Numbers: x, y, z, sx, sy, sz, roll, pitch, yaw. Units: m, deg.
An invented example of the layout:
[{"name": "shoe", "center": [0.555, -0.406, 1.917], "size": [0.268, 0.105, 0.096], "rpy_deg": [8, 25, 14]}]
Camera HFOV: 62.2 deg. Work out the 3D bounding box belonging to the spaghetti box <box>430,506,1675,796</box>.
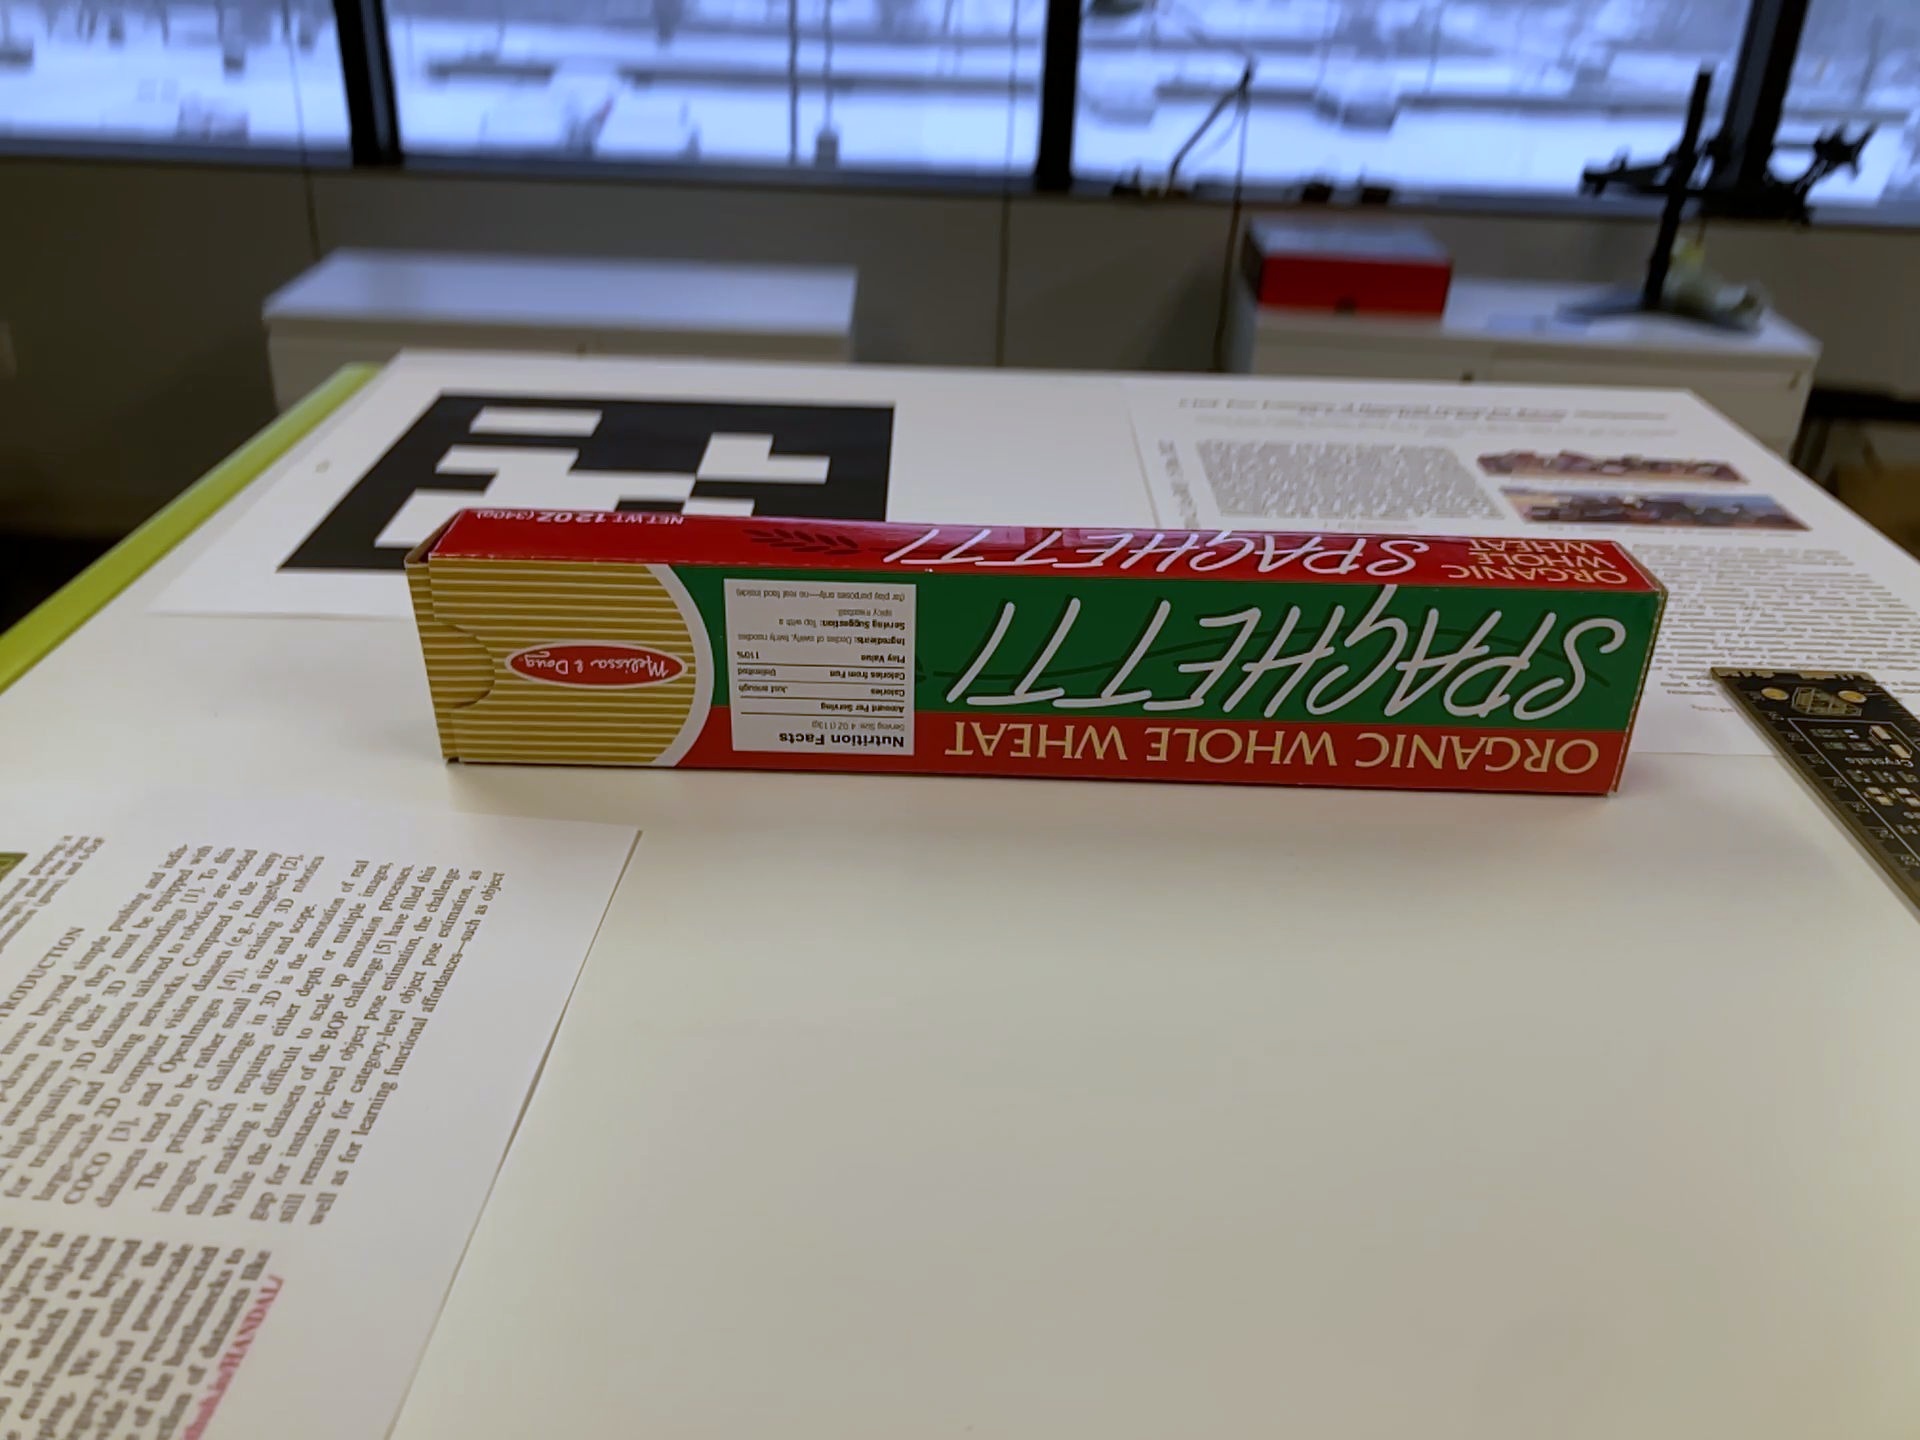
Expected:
[{"name": "spaghetti box", "center": [0.018, -0.014, 0.340], "size": [0.250, 0.050, 0.028], "rpy_deg": [2, 30, -1]}]
